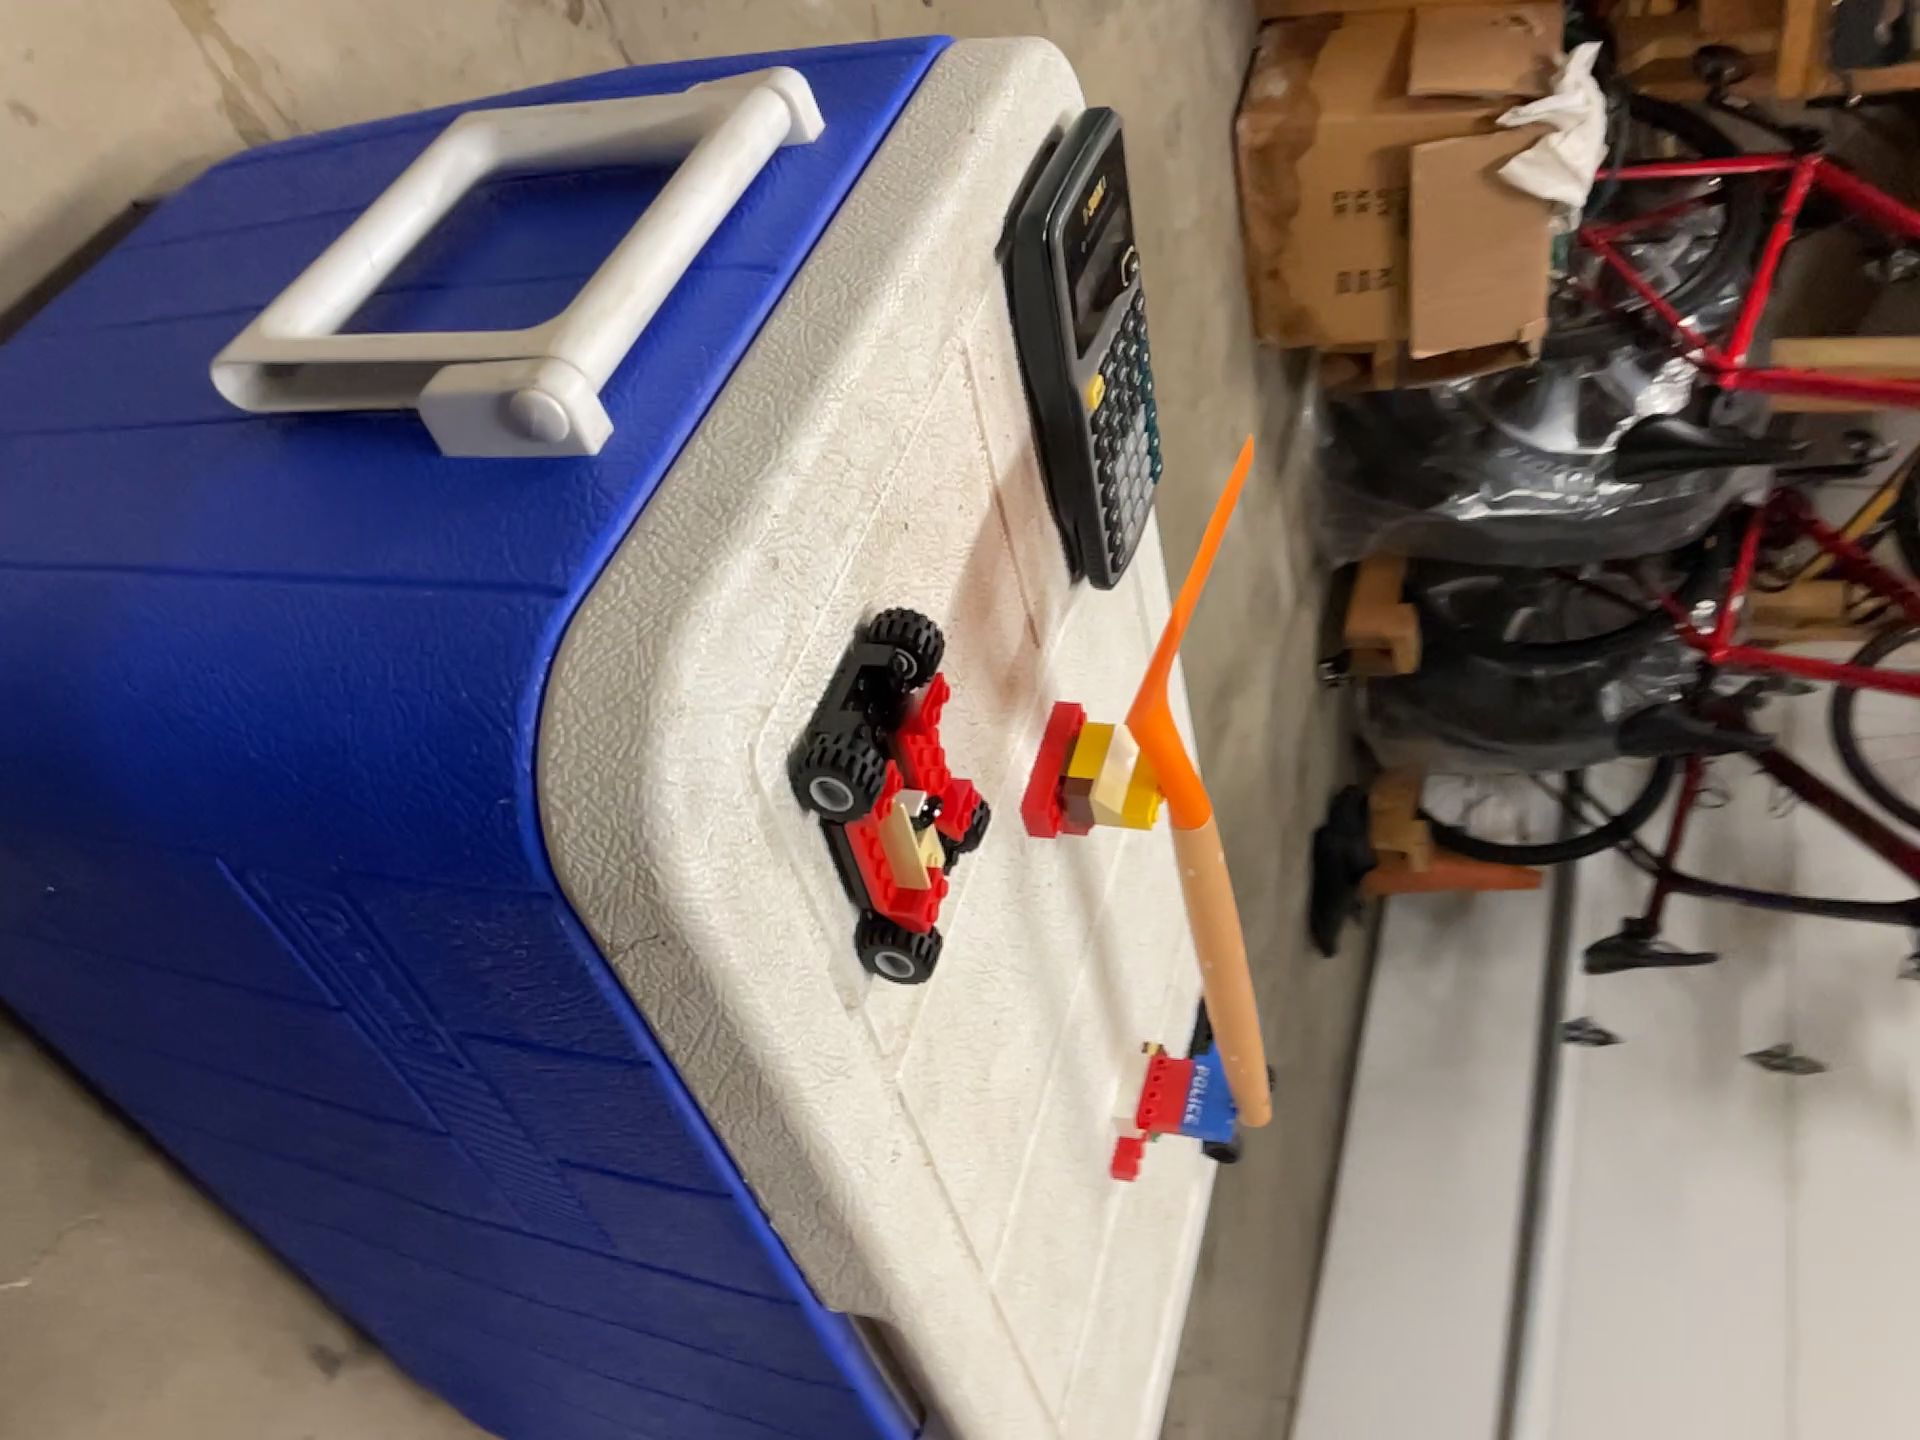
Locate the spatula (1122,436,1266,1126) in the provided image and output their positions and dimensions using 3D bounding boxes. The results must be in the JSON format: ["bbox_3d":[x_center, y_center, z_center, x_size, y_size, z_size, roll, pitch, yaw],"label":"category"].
[{"bbox_3d":[0.092,0.052,0.560,0.322,0.041,0.081,72,34,-41],"label":"spatula"}]
